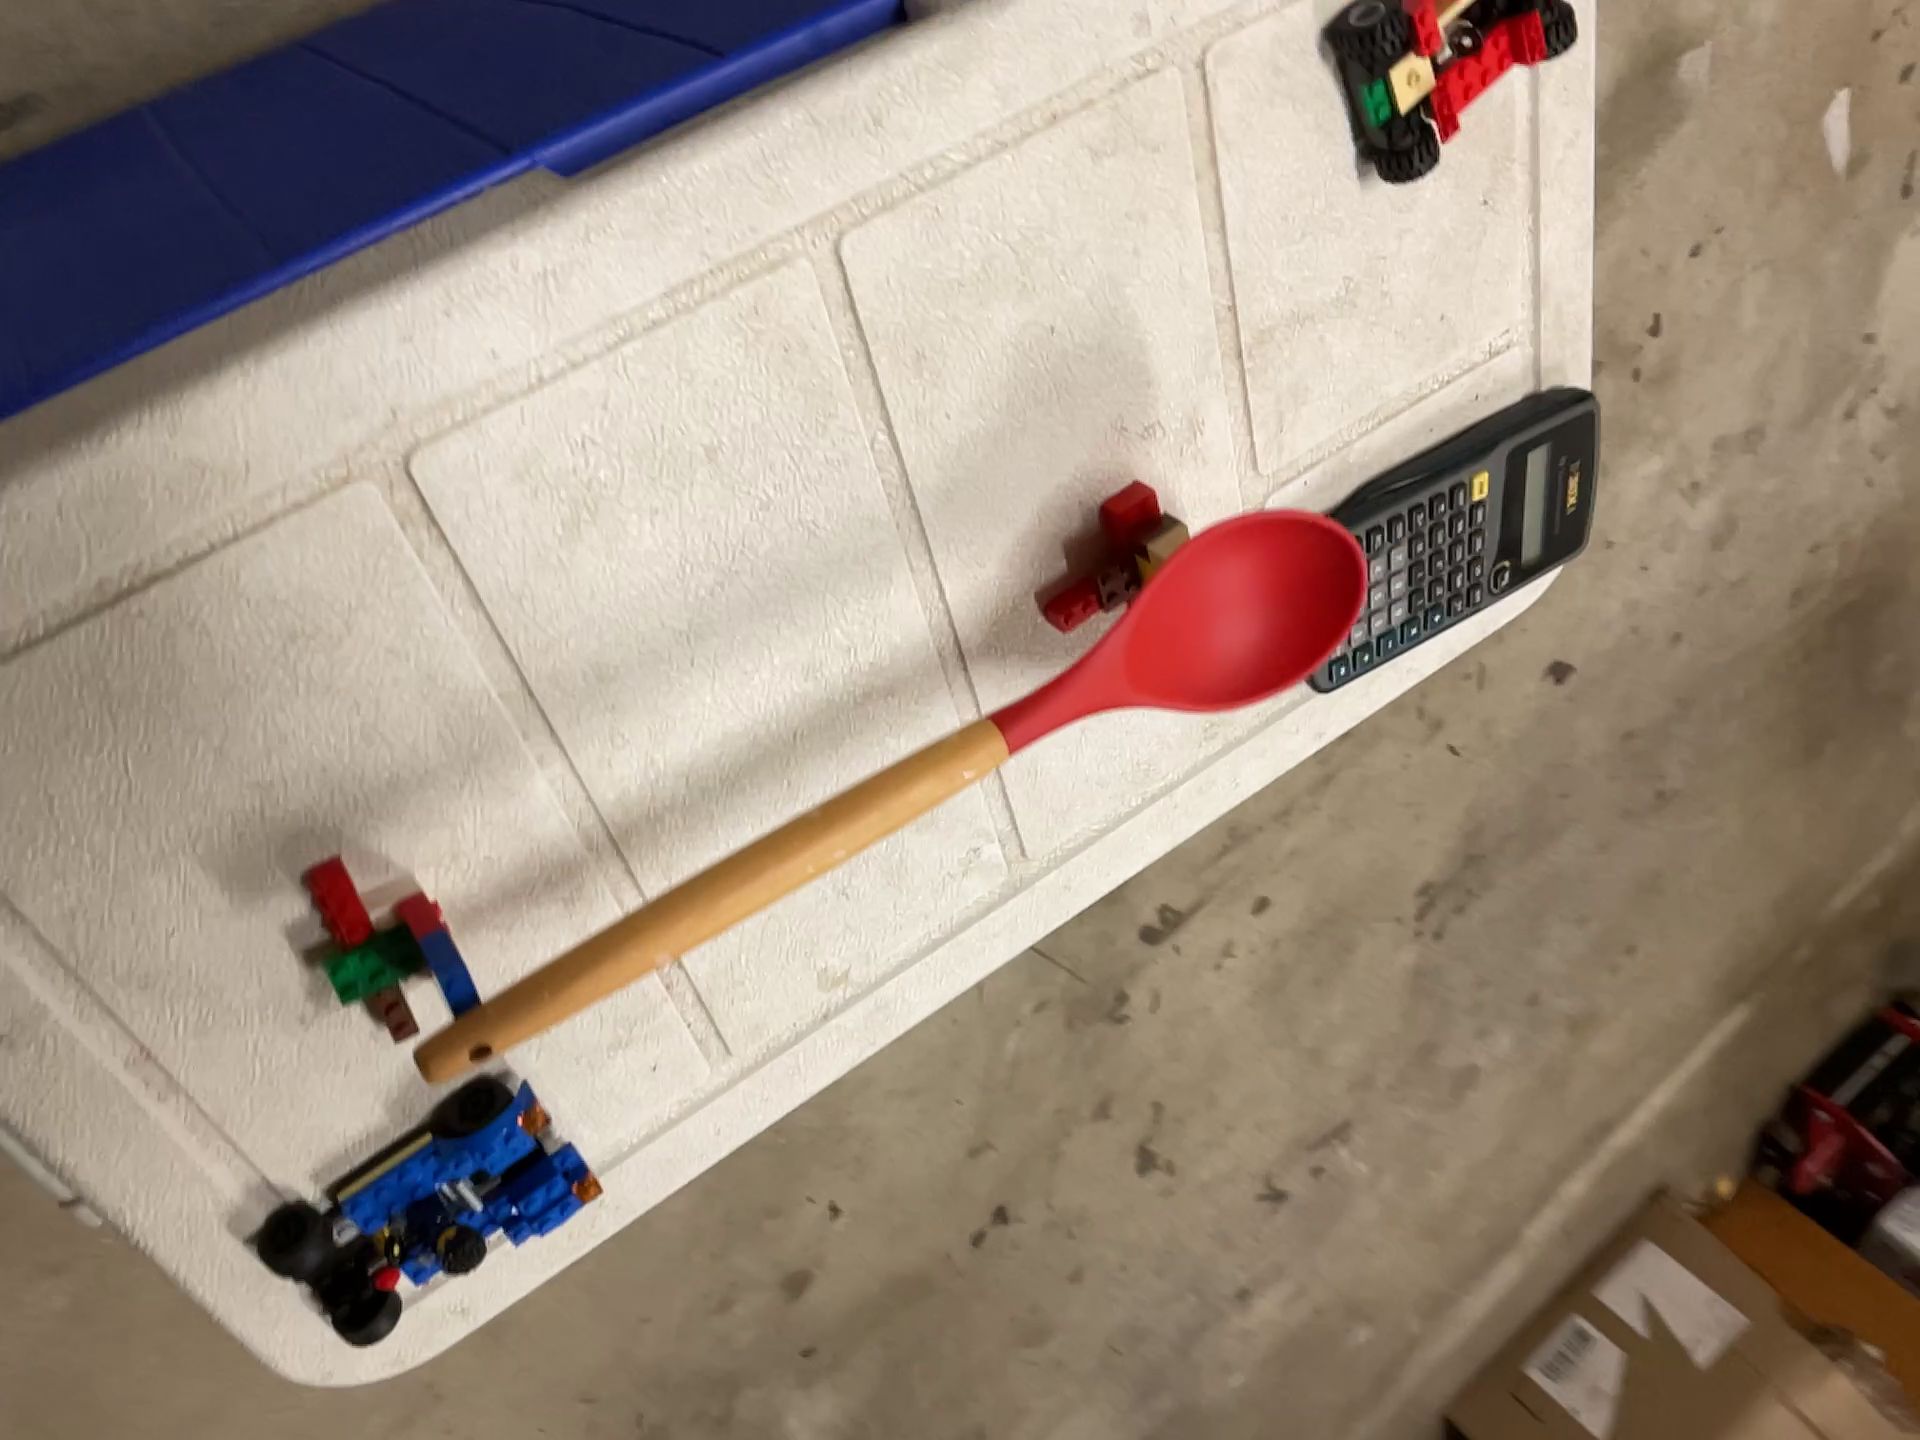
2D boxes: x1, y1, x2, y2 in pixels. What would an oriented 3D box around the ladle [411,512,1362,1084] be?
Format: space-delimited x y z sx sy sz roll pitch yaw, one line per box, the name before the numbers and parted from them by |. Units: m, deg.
ladle | -0.011 0.019 0.469 0.315 0.031 0.069 -29 126 -18
